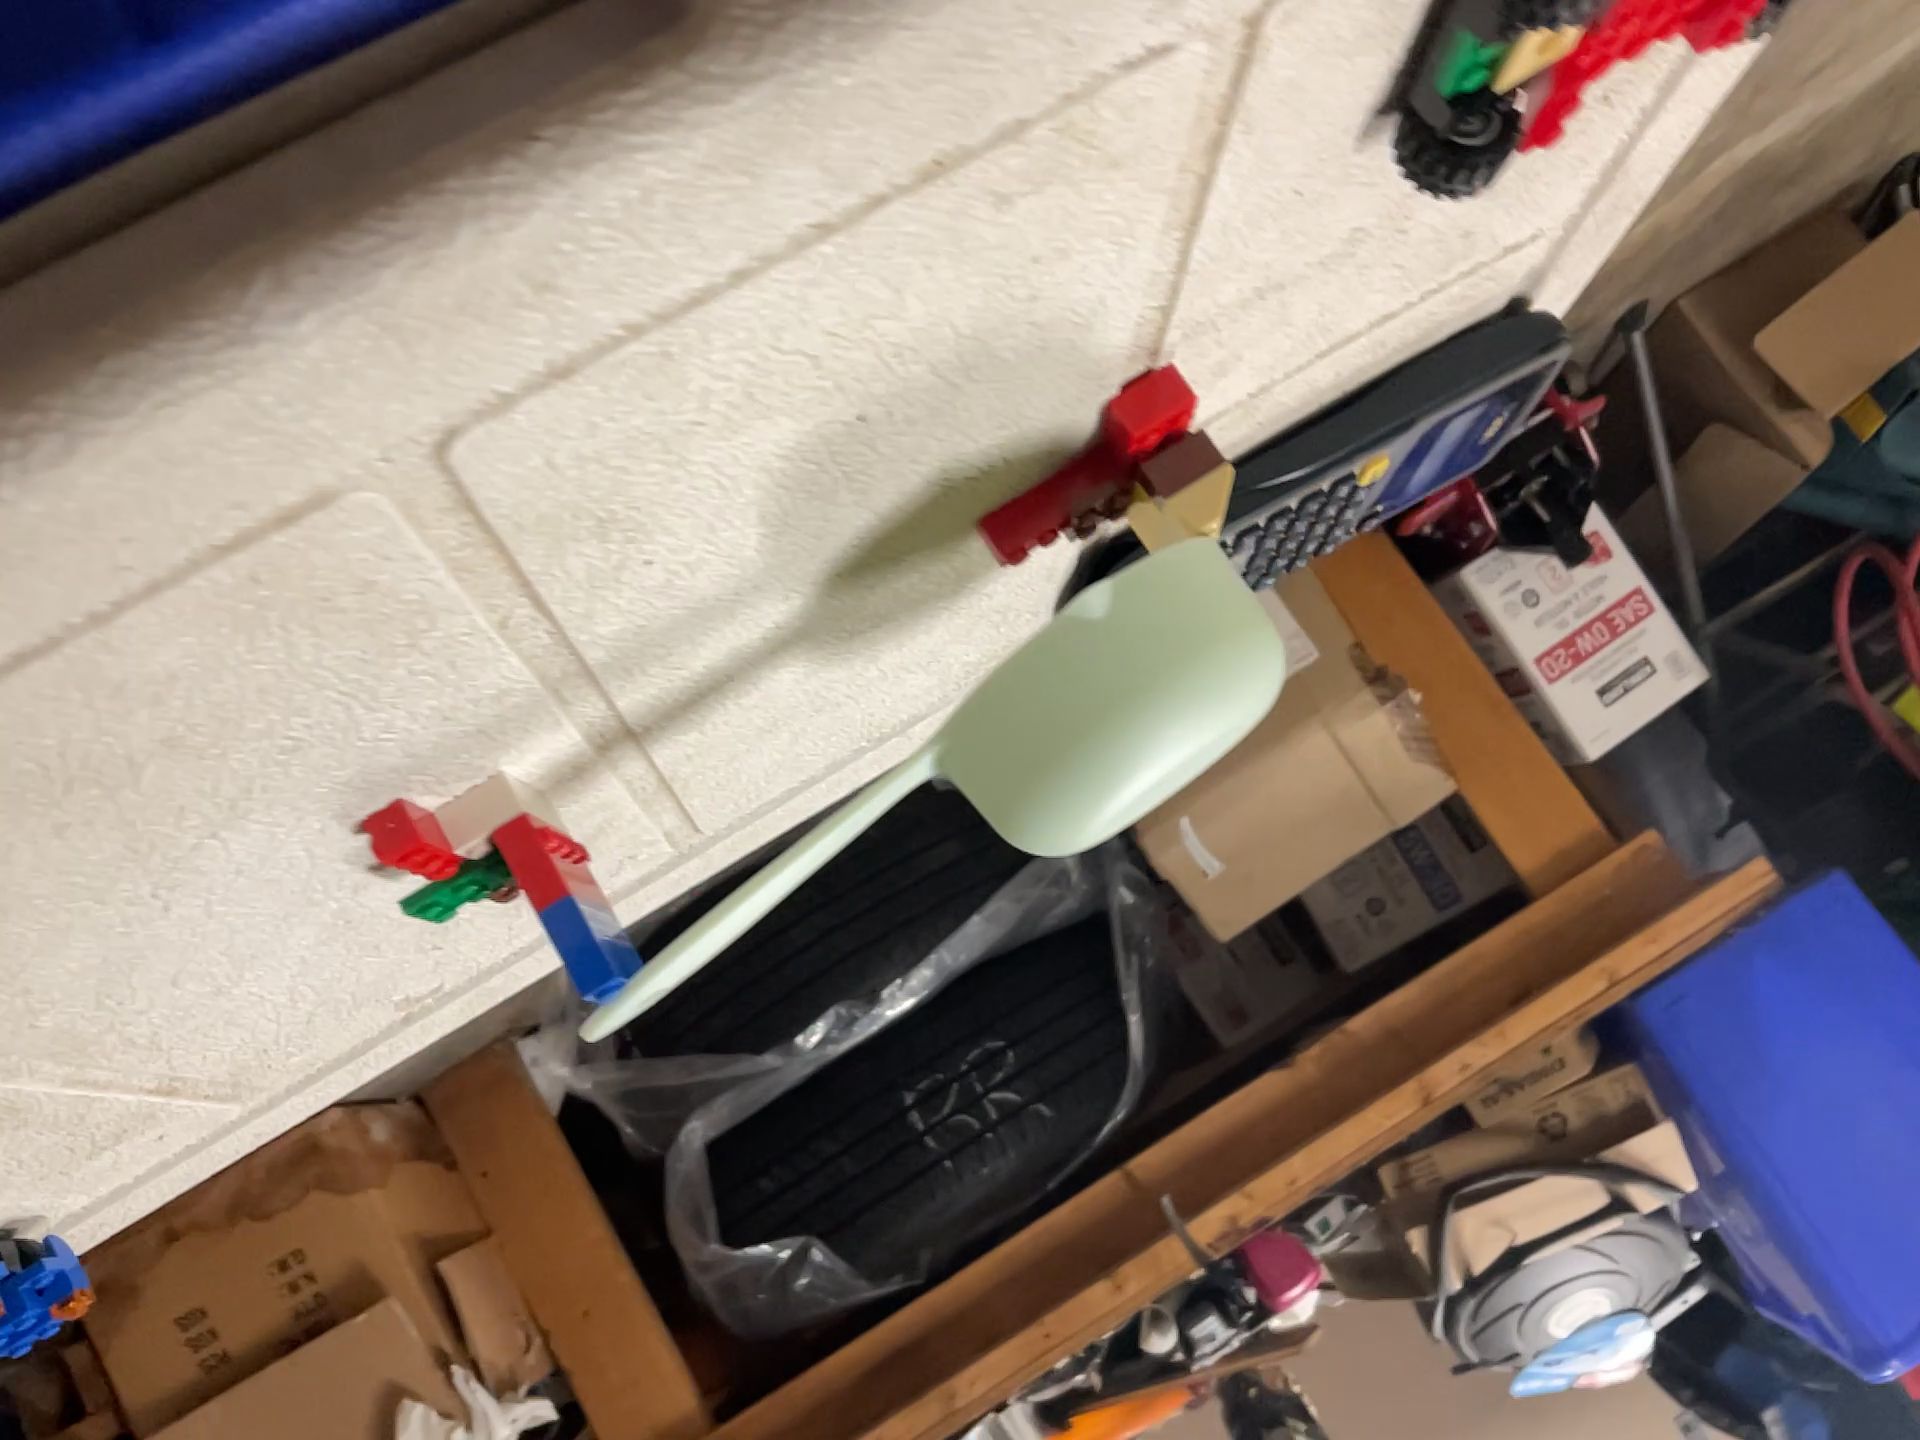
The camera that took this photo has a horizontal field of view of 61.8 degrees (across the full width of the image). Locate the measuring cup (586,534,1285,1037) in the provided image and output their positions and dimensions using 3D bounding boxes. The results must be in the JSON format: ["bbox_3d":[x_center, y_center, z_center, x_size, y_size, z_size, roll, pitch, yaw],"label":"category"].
[{"bbox_3d":[-0.001,0.025,0.338,0.167,0.038,0.083,-37,168,-9],"label":"measuring cup"}]
